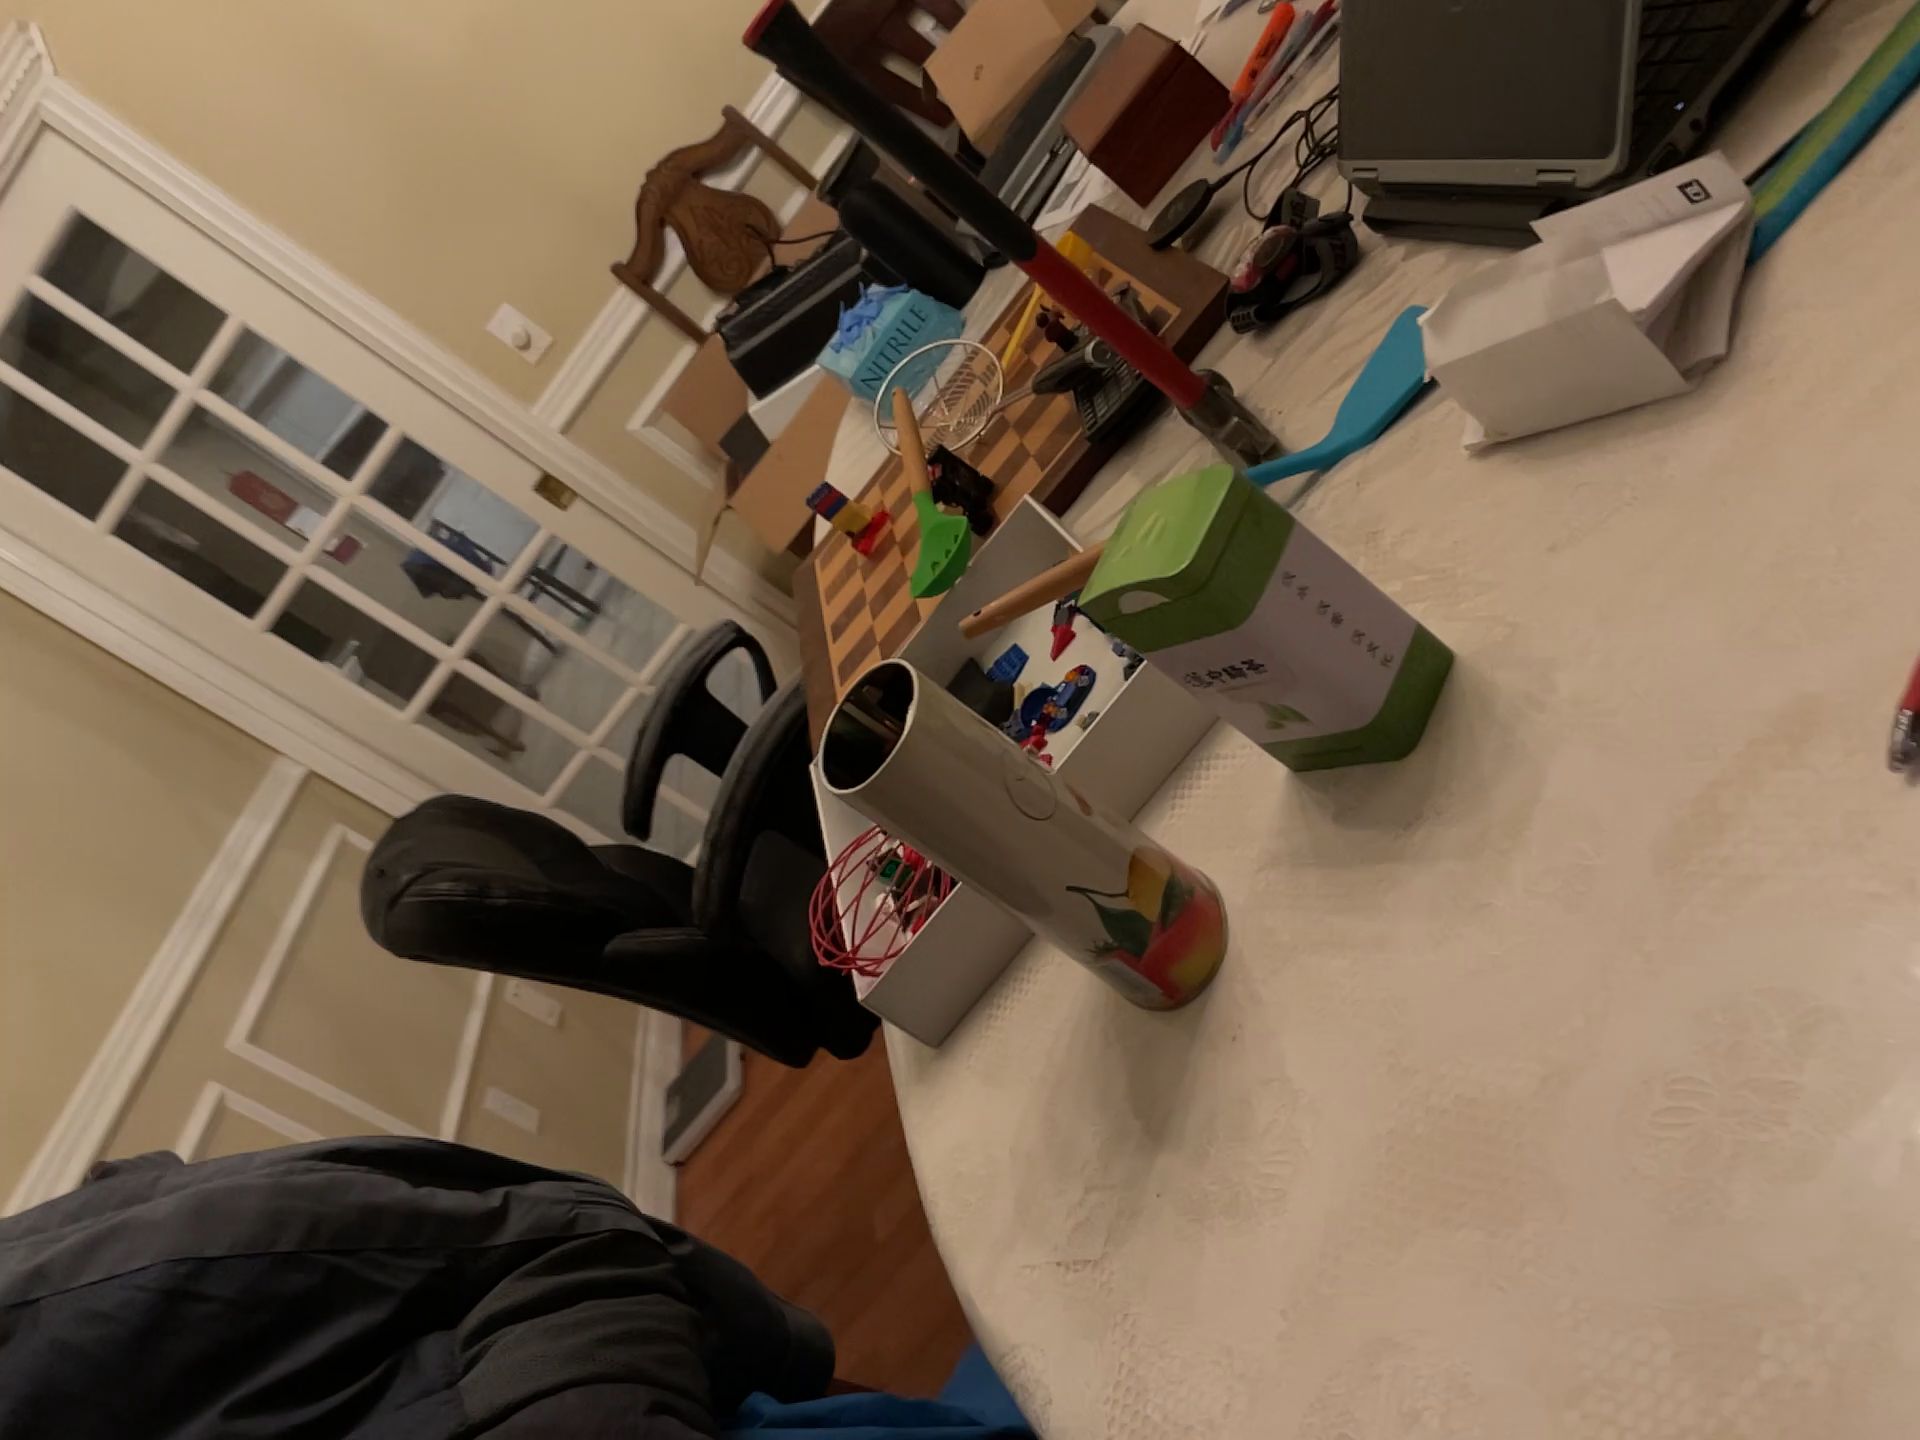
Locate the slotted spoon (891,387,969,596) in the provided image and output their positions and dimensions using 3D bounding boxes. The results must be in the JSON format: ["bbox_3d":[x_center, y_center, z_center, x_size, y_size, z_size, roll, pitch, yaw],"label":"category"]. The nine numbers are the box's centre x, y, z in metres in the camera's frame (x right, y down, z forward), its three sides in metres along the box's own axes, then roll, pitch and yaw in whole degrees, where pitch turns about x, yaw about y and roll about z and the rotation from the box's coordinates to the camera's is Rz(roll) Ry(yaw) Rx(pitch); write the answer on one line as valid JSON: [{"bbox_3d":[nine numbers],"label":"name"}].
[{"bbox_3d":[-0.031,-0.189,1.252,0.070,0.031,0.314,-47,30,24],"label":"slotted spoon"}]

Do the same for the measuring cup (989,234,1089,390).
[{"bbox_3d":[0.072,-0.371,1.468,0.156,0.029,0.062,-62,21,18],"label":"measuring cup"}]

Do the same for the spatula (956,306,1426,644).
[{"bbox_3d":[0.133,-0.130,0.908,0.317,0.044,0.082,-28,28,10],"label":"spatula"}]

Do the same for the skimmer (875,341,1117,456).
[{"bbox_3d":[0.024,-0.285,1.319,0.127,0.090,0.364,-56,16,-9],"label":"skimmer"}]

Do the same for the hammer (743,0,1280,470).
[{"bbox_3d":[0.036,-0.282,0.946,0.038,0.386,0.143,-48,21,16],"label":"hammer"}]

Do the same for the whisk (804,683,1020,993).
[{"bbox_3d":[-0.017,0.057,0.959,0.073,0.073,0.295,-18,24,31],"label":"whisk"}]
